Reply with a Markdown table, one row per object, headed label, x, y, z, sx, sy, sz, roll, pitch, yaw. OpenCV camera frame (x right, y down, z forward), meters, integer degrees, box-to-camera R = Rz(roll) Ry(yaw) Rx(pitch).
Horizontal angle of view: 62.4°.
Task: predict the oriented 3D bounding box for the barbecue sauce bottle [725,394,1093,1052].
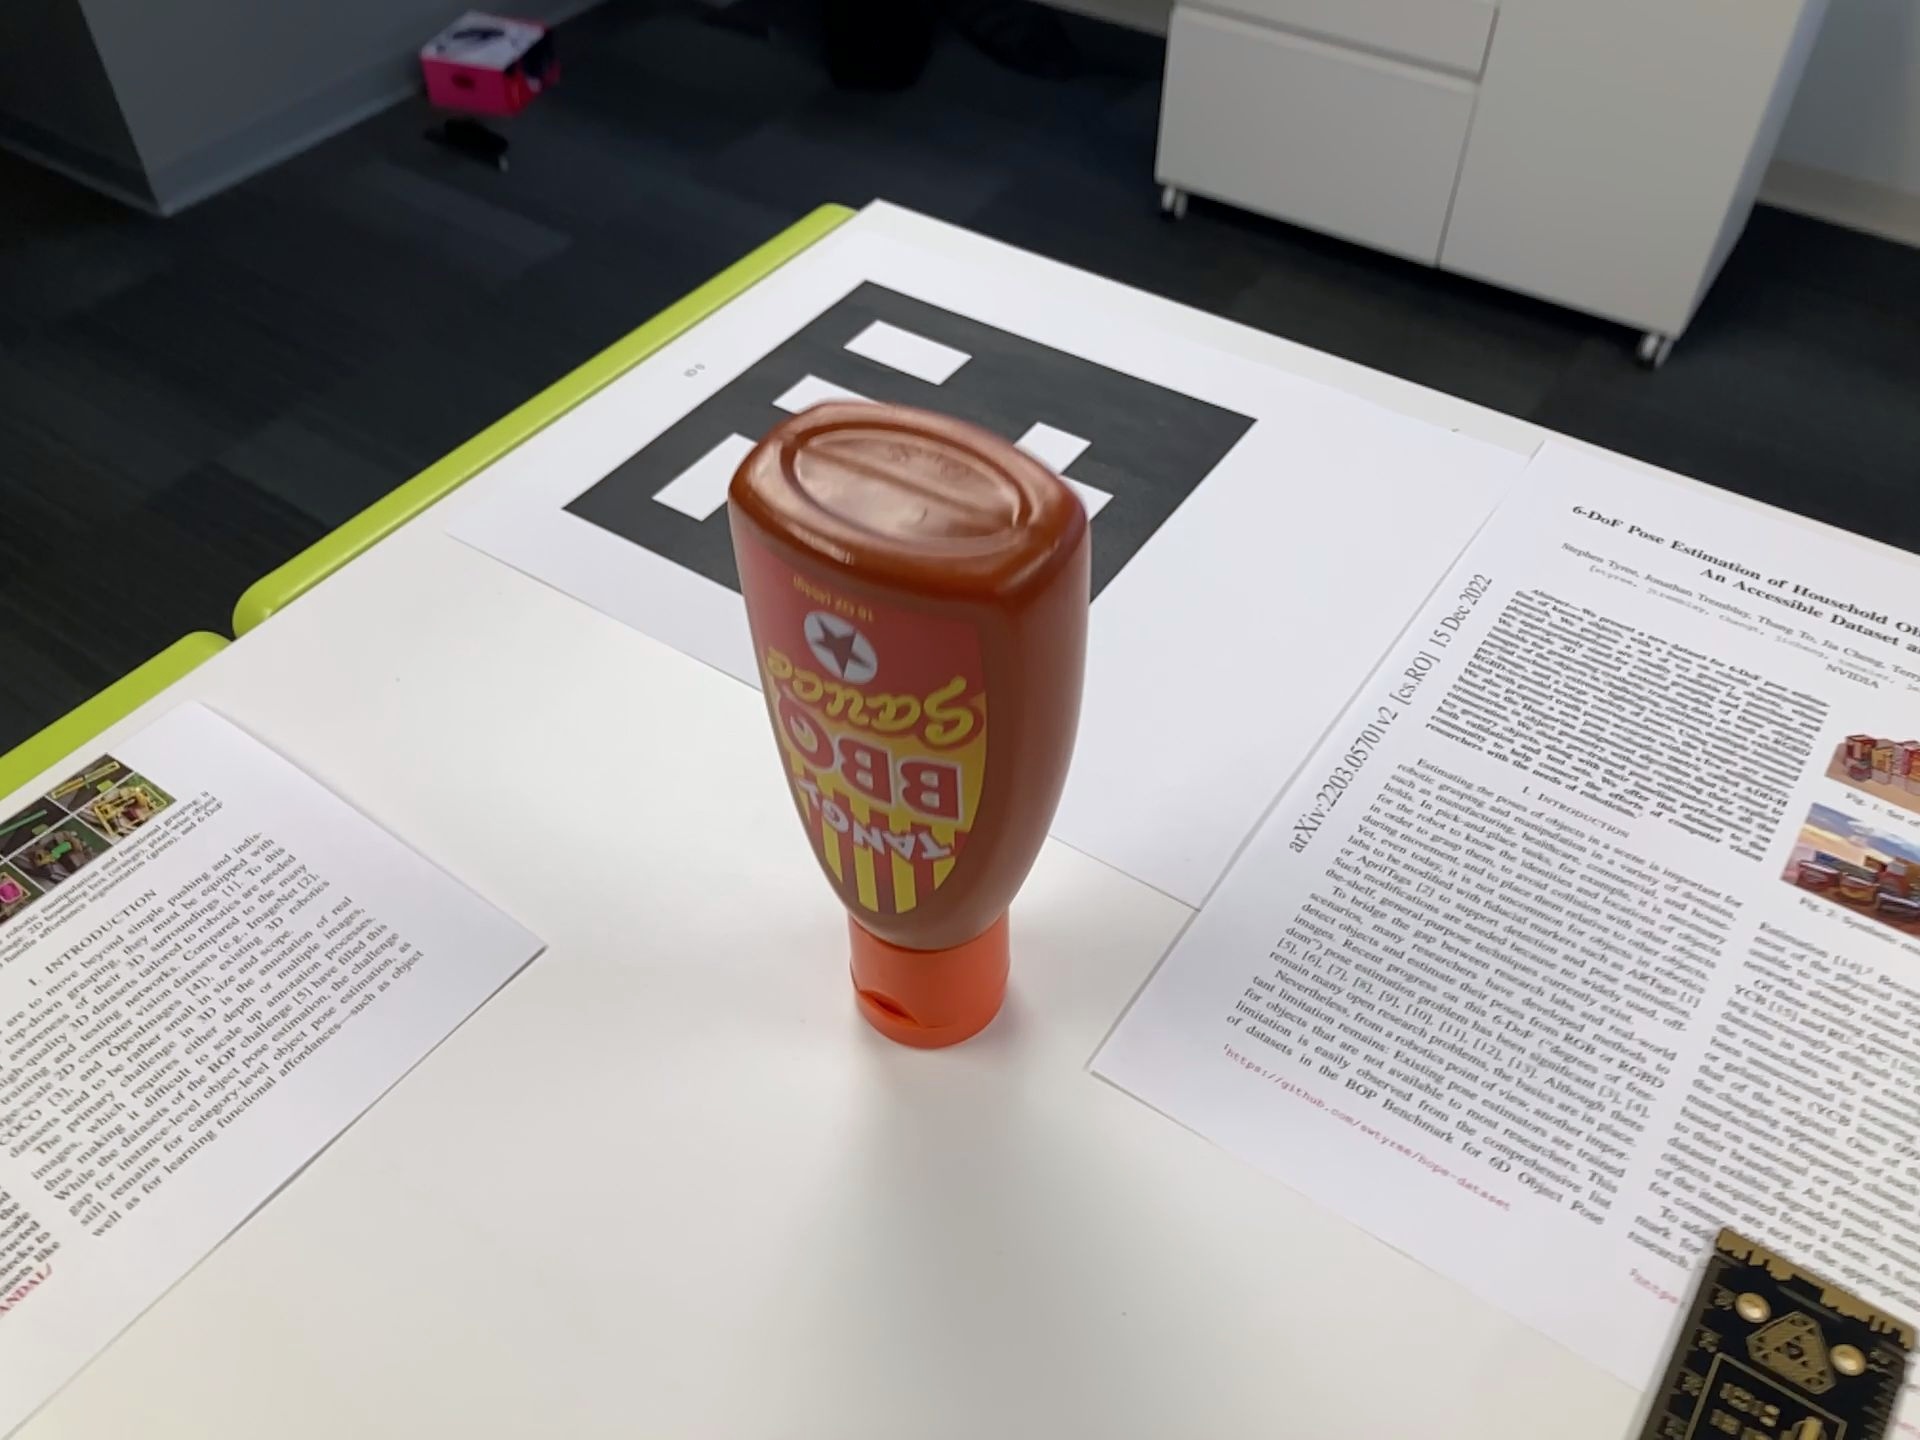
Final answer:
| label | x | y | z | sx | sy | sz | roll | pitch | yaw |
| --- | --- | --- | --- | --- | --- | --- | --- | --- | --- |
| barbecue sauce bottle | -0.008 | 0.011 | 0.316 | 0.065 | 0.148 | 0.043 | 25 | 52 | 23 |
